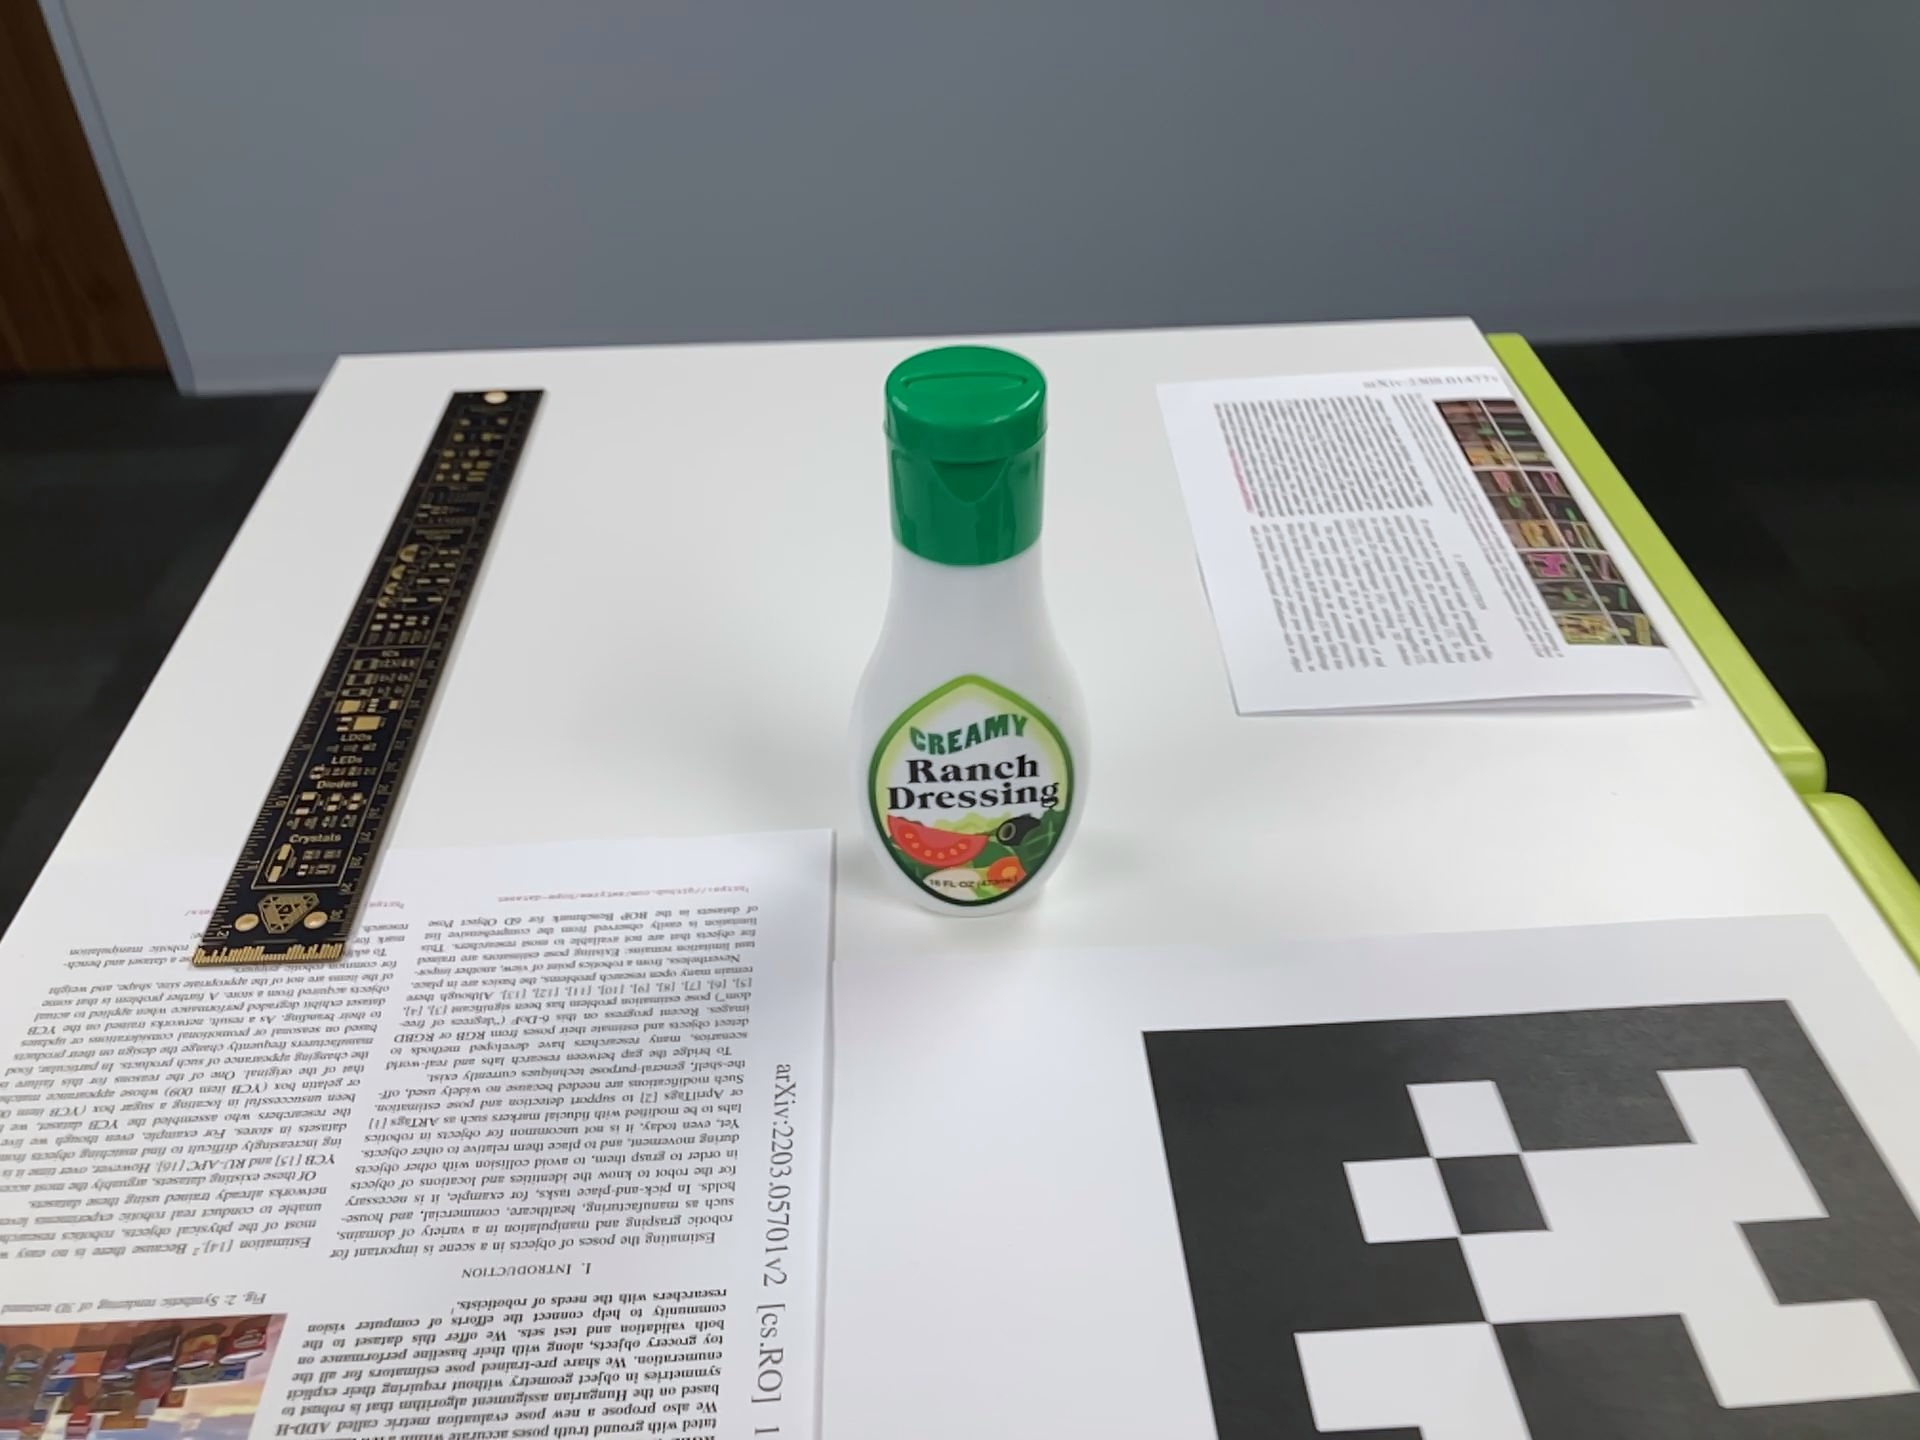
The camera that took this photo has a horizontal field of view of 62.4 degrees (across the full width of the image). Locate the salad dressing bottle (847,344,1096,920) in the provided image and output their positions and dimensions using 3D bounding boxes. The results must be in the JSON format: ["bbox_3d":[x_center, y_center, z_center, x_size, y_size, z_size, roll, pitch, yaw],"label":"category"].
[{"bbox_3d":[0.002,-0.017,0.391,0.064,0.147,0.044,-2,38,-1],"label":"salad dressing bottle"}]
